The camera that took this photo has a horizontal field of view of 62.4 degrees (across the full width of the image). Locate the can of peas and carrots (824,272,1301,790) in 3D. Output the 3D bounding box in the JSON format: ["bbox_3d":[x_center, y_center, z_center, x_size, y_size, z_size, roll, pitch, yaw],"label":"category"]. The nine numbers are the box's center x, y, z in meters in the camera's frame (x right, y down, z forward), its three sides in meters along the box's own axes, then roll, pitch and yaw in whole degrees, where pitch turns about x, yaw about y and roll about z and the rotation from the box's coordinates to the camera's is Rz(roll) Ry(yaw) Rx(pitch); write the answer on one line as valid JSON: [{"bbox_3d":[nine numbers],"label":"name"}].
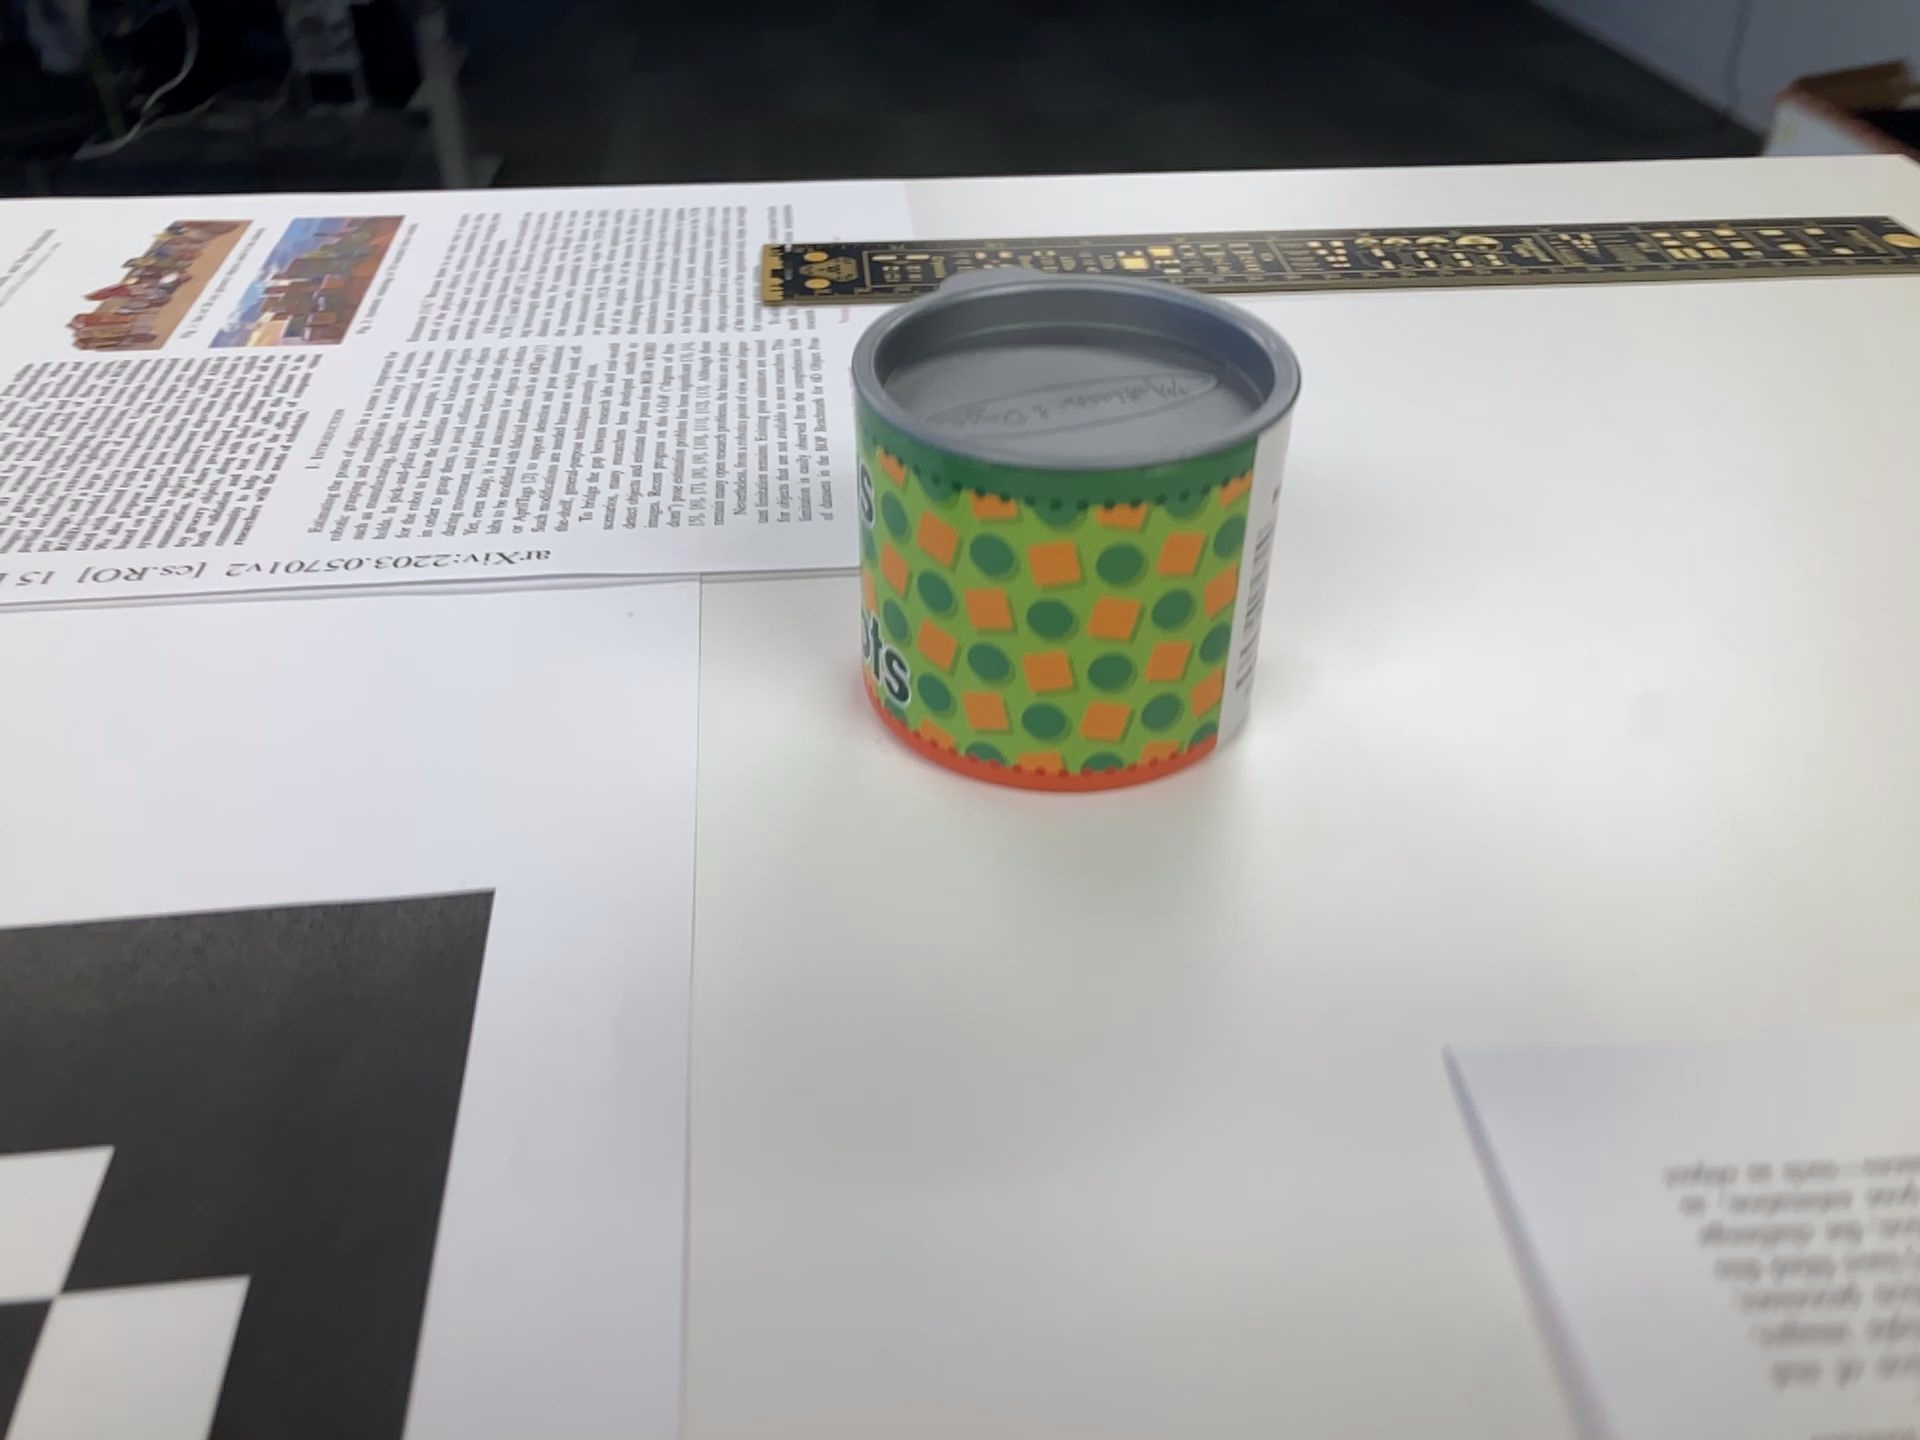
[{"bbox_3d":[0.014,-0.031,0.252,0.071,0.059,0.071,0,37,0],"label":"can of peas and carrots"}]
